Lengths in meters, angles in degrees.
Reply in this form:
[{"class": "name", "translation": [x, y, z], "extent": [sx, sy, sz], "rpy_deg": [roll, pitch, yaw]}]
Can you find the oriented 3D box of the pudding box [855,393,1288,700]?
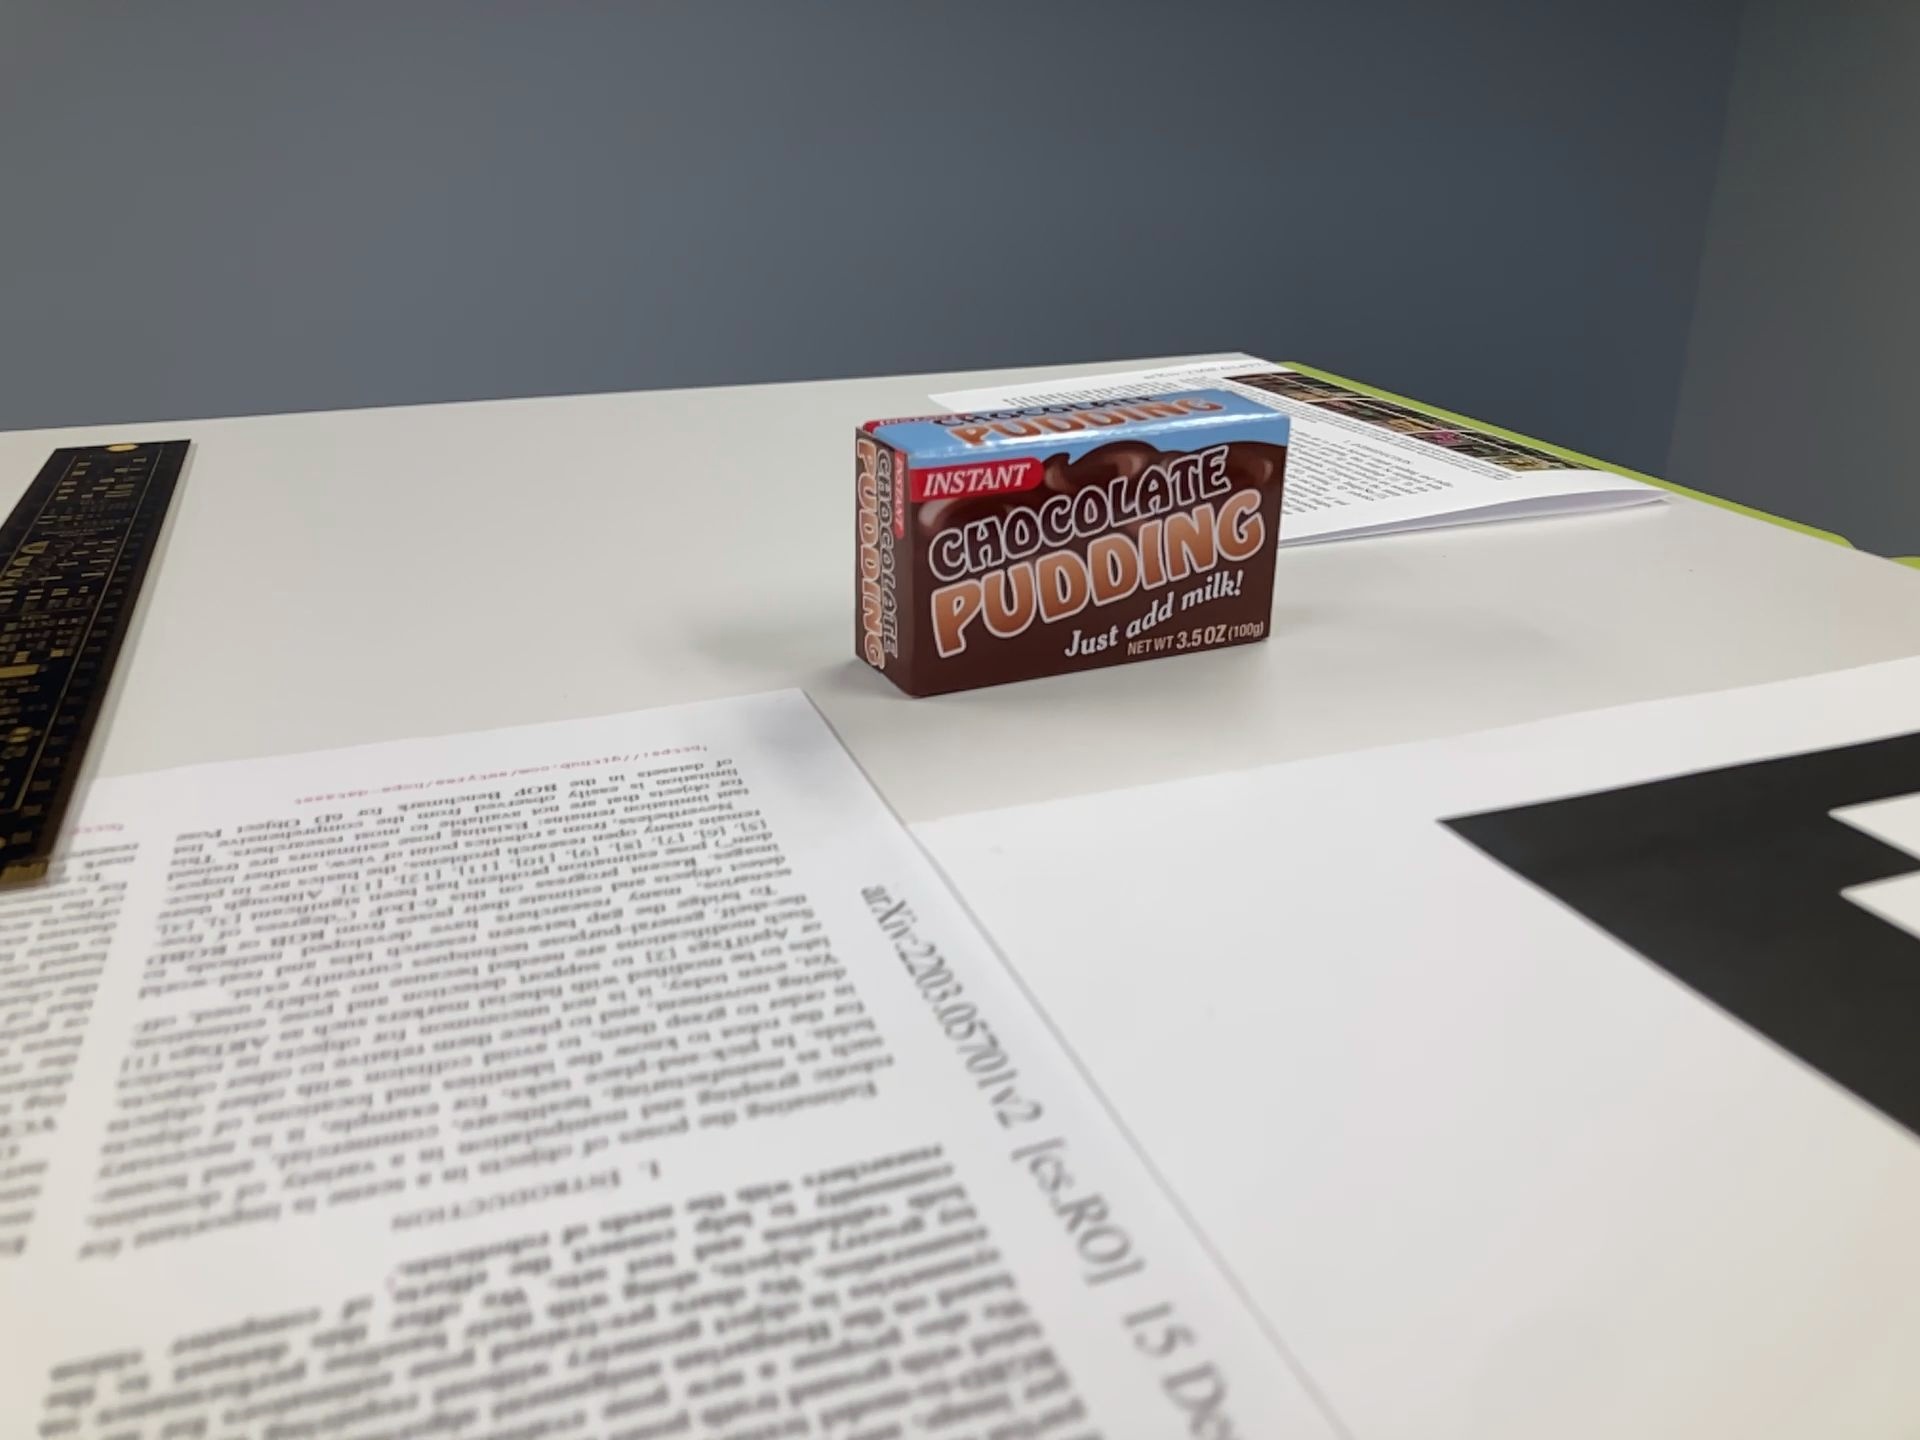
[{"class": "pudding box", "translation": [0.022, -0.037, 0.317], "extent": [0.083, 0.049, 0.030], "rpy_deg": [-9, 25, -23]}]
